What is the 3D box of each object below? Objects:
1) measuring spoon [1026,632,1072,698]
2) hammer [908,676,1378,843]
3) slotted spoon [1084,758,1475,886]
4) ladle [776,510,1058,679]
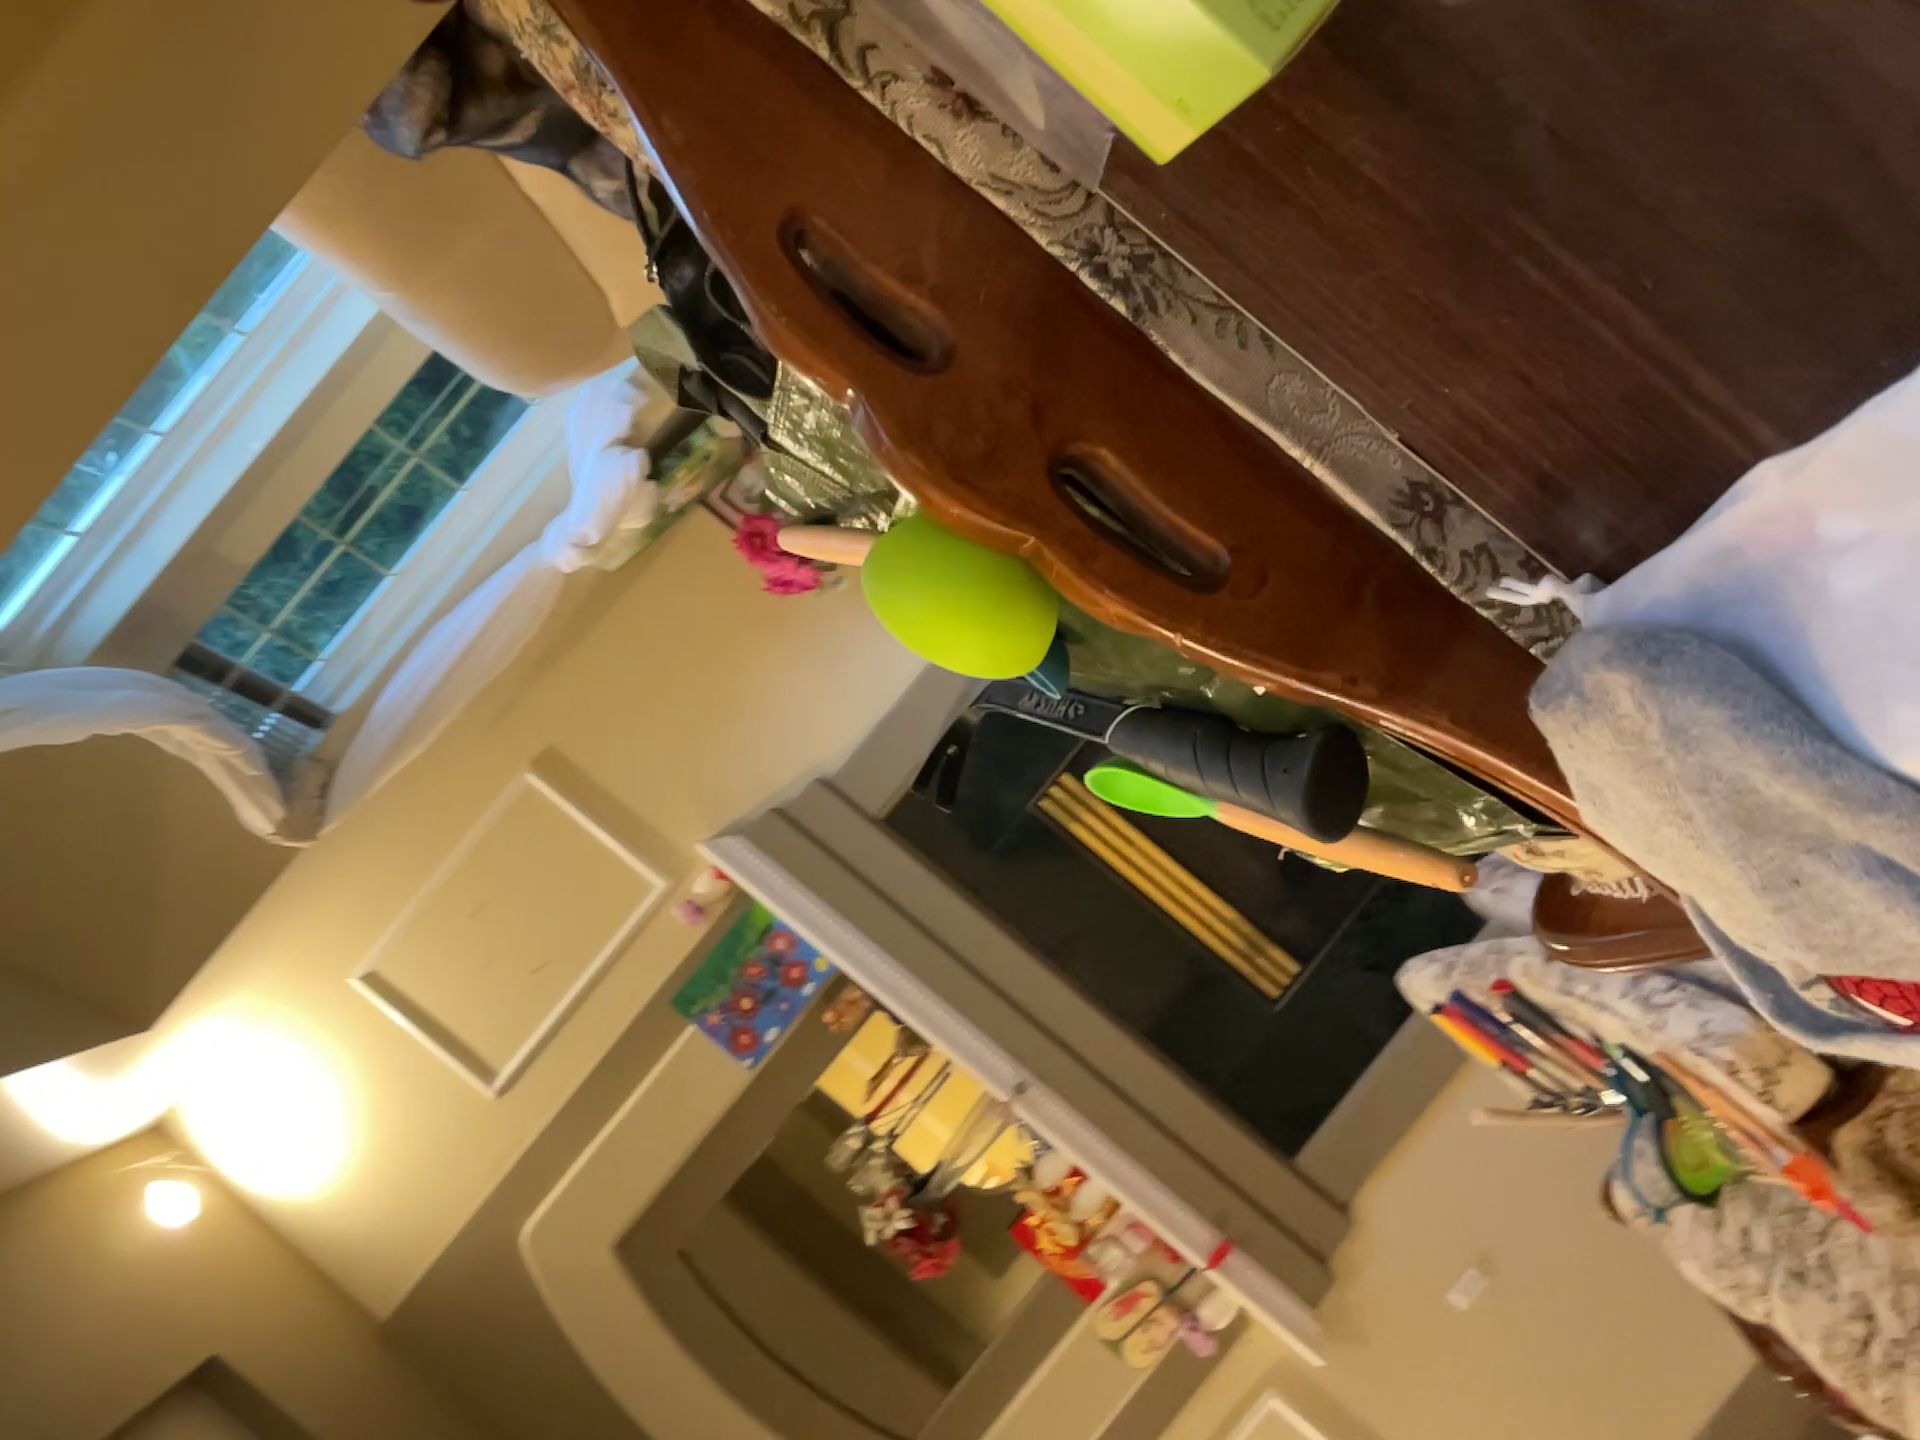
[{"bbox_3d":[0.012,-0.047,0.723,0.042,0.021,0.129,43,177,-40],"label":"measuring spoon"},{"bbox_3d":[0.074,0.006,0.779,0.036,0.149,0.409,31,176,-21],"label":"hammer"},{"bbox_3d":[0.146,0.047,0.771,0.070,0.031,0.314,24,176,-20],"label":"slotted spoon"},{"bbox_3d":[-0.042,-0.067,0.715,0.078,0.062,0.320,13,-177,-22],"label":"ladle"}]
